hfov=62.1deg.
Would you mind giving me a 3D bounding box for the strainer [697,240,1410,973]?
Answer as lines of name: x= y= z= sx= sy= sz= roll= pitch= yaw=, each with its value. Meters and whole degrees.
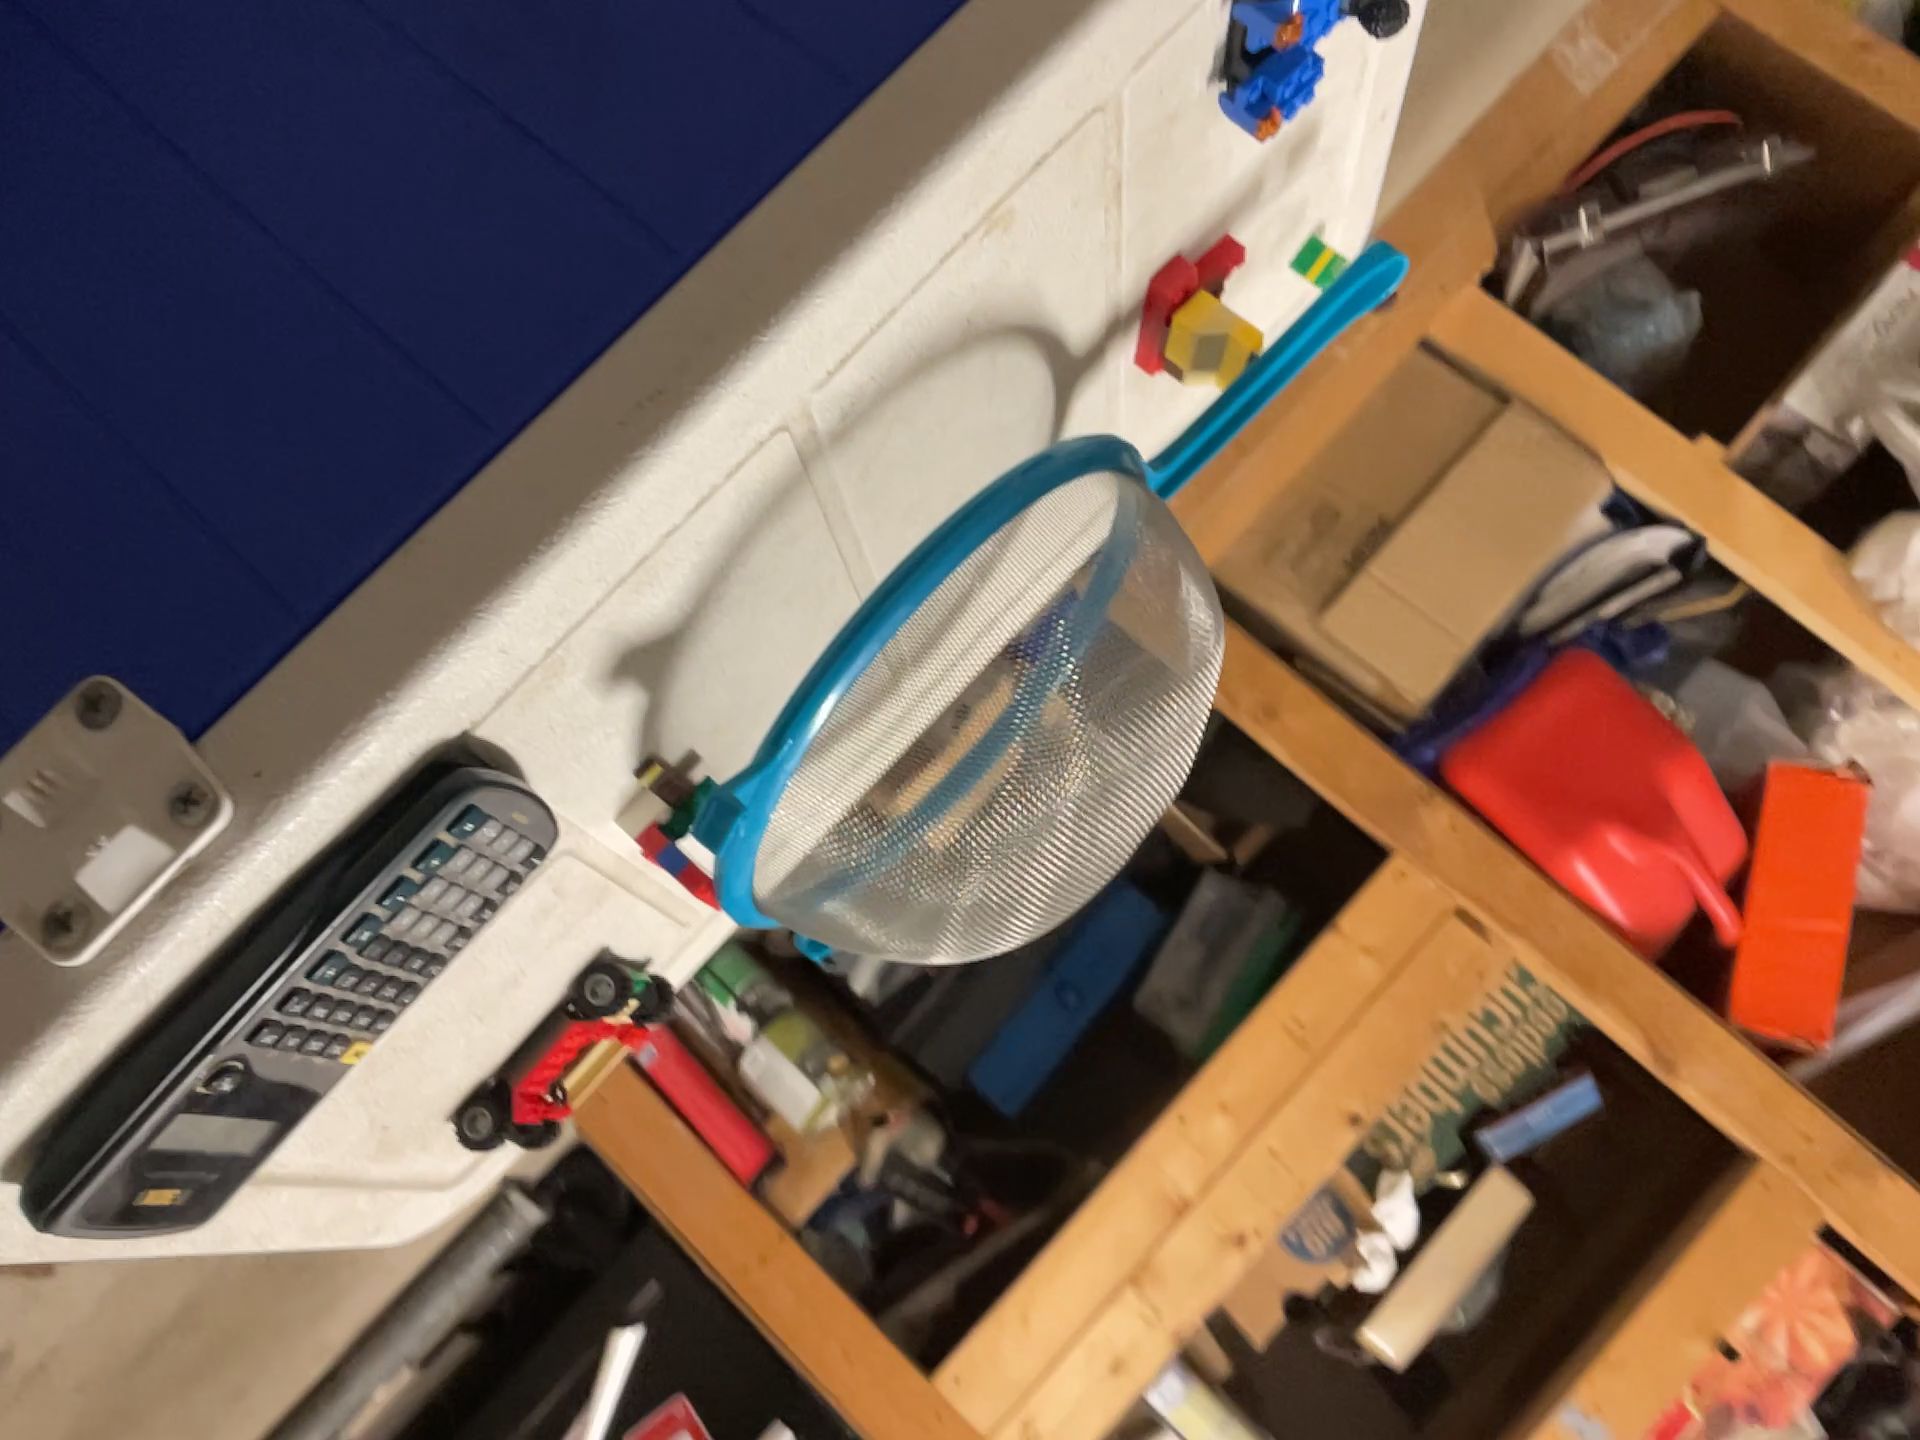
strainer: x=0.069 y=-0.030 z=0.552 sx=0.340 sy=0.095 sz=0.211 roll=-45 pitch=164 yaw=-10
